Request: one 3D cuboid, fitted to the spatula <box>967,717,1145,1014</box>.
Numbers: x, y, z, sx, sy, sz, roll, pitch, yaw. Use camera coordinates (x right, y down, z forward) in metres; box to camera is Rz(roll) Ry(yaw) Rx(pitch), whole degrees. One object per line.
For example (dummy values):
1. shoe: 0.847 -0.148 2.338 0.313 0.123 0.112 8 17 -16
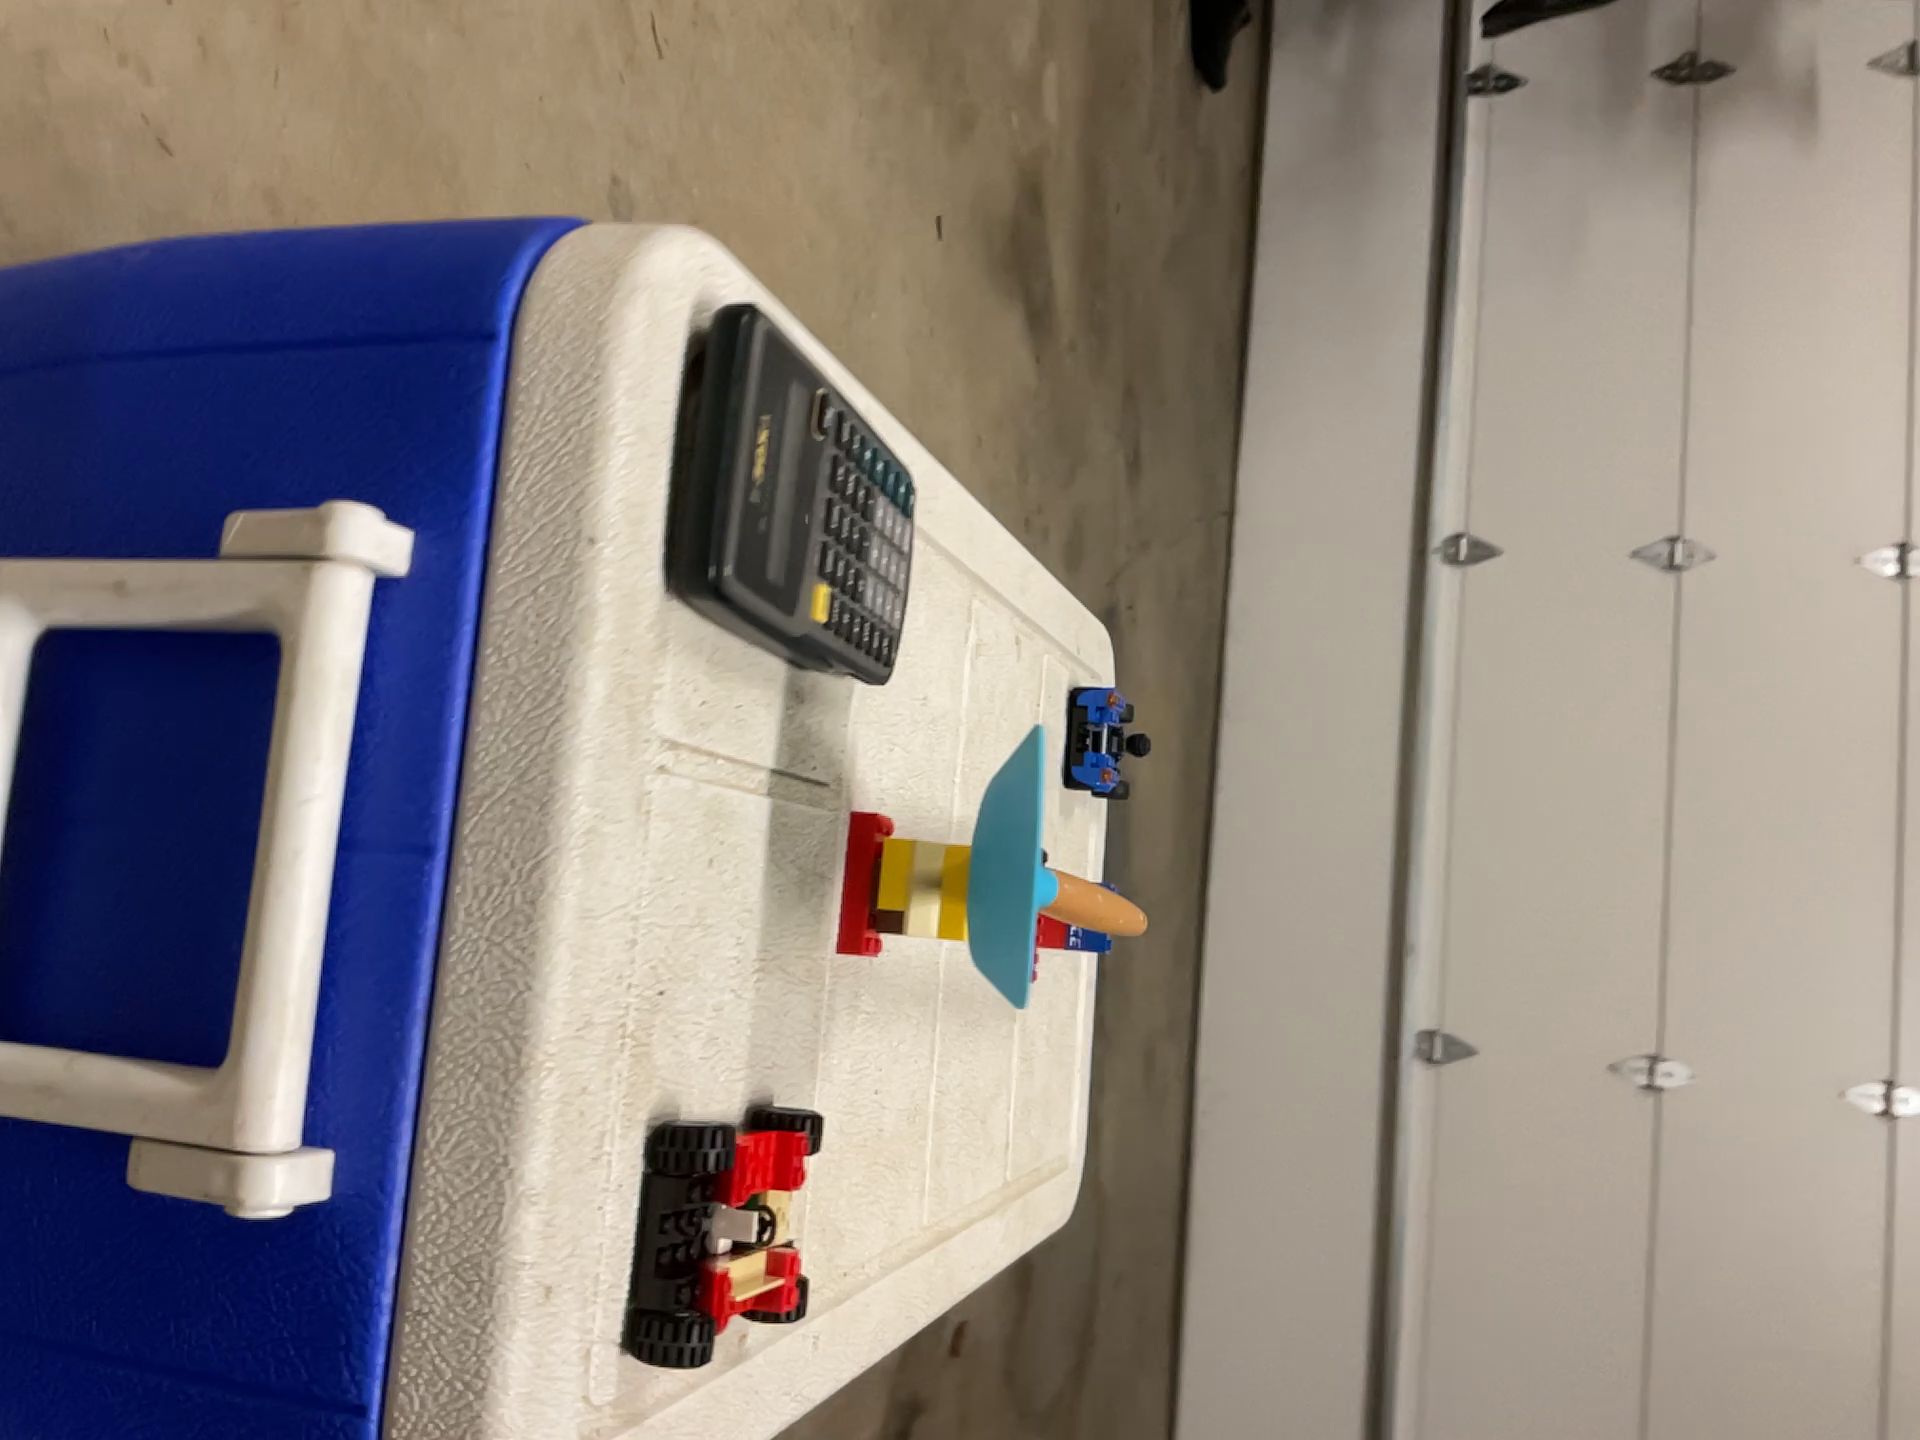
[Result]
1. spatula: 0.045 0.066 0.589 0.317 0.044 0.082 32 59 -71
